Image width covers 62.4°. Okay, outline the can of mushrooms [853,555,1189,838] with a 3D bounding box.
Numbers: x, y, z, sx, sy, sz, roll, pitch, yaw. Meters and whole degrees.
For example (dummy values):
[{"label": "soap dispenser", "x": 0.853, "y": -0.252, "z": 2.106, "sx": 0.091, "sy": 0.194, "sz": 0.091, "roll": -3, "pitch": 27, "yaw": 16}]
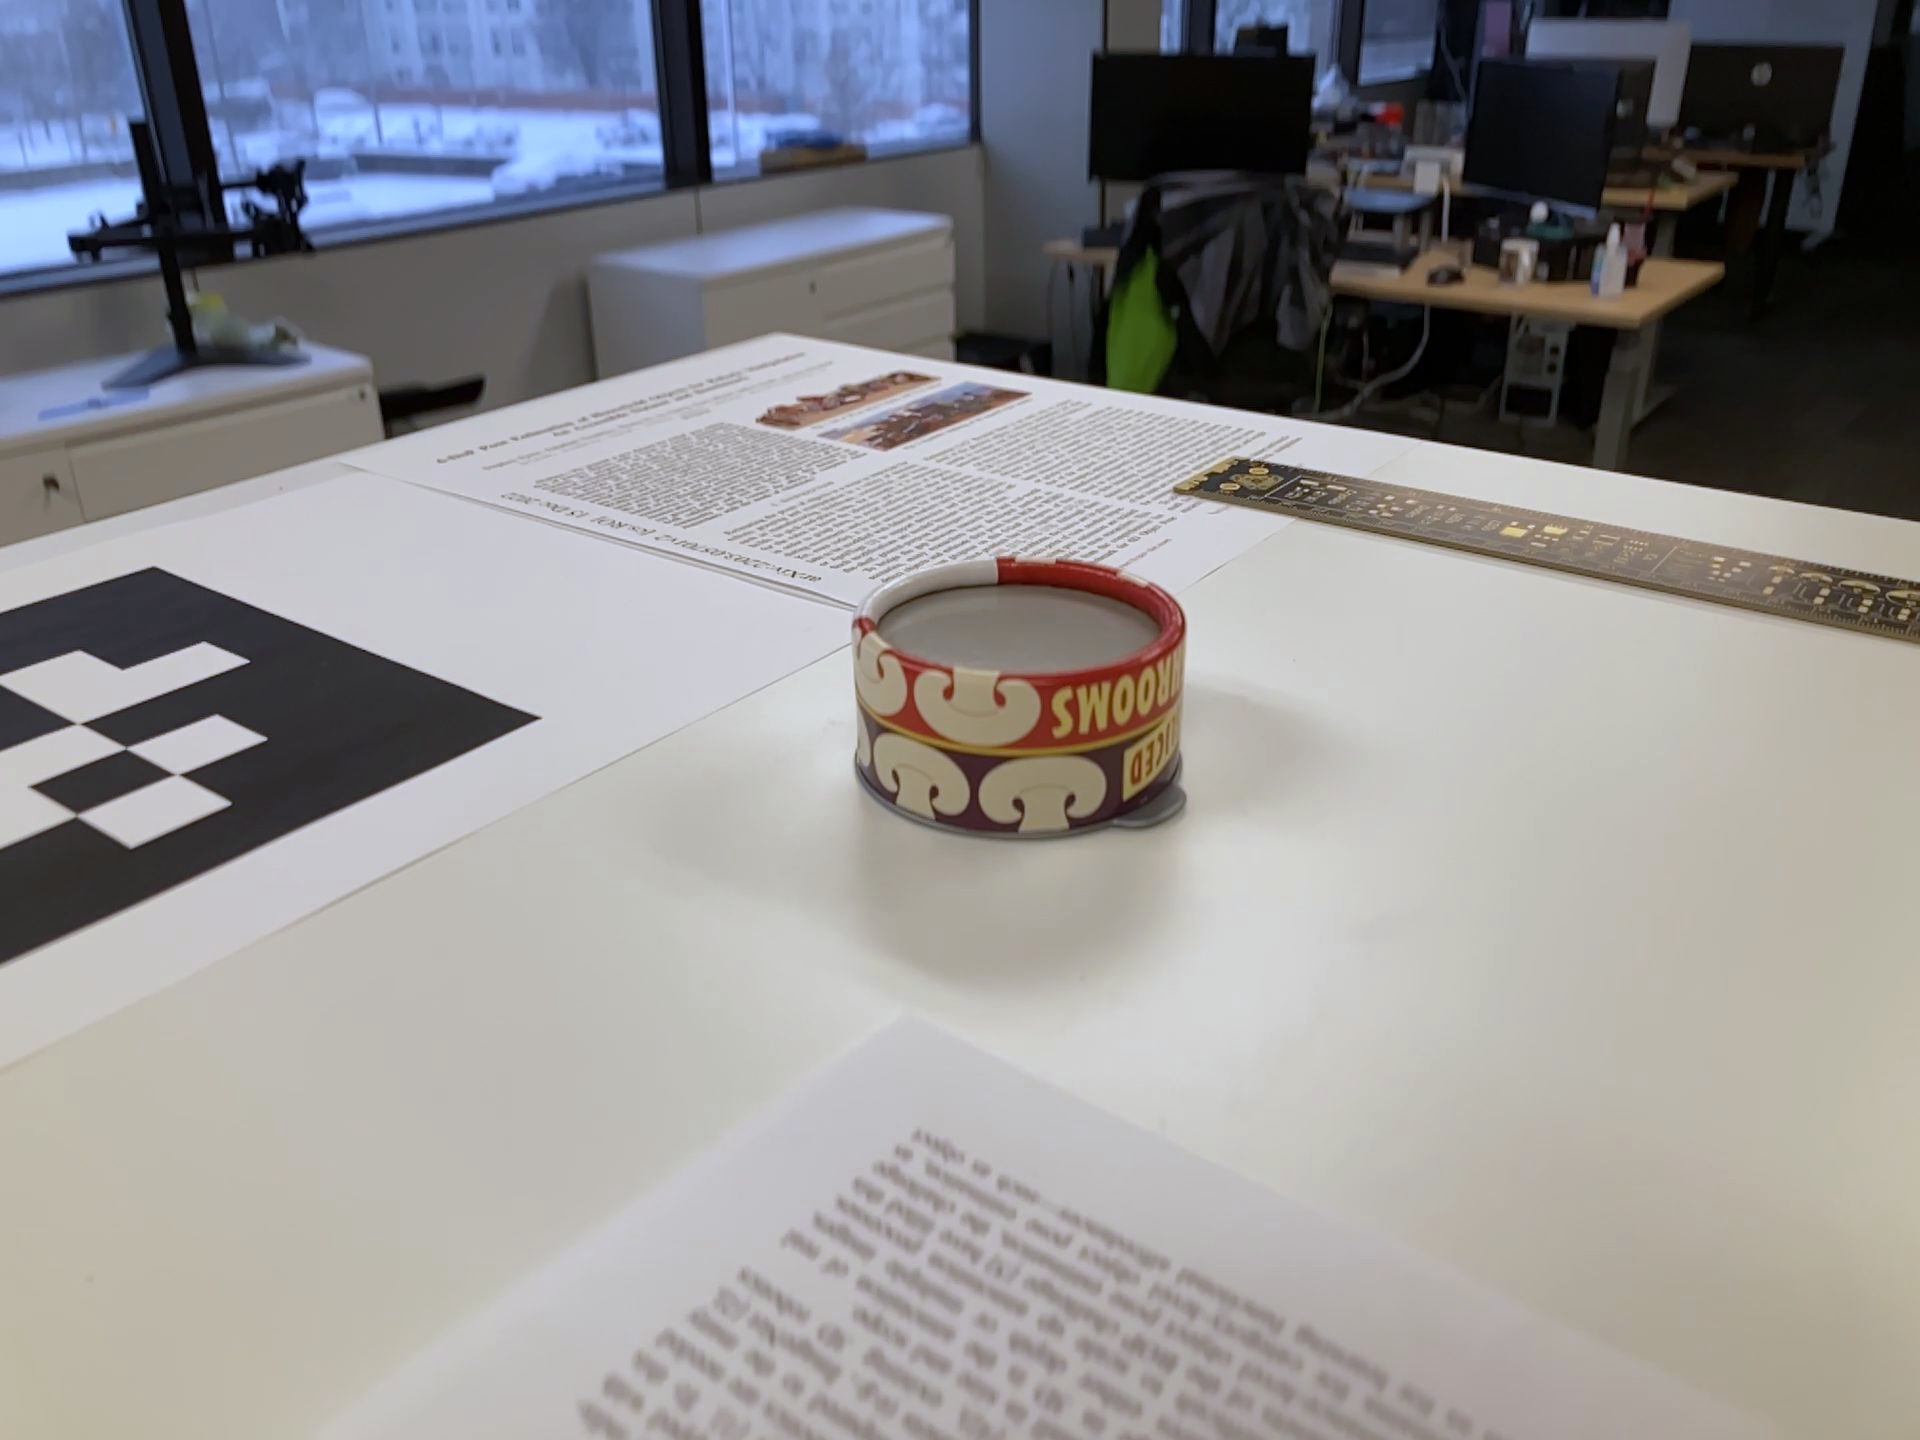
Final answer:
[{"label": "can of mushrooms", "x": 0.013, "y": -0.006, "z": 0.313, "sx": 0.071, "sy": 0.033, "sz": 0.071, "roll": 0, "pitch": 25, "yaw": 0}]
